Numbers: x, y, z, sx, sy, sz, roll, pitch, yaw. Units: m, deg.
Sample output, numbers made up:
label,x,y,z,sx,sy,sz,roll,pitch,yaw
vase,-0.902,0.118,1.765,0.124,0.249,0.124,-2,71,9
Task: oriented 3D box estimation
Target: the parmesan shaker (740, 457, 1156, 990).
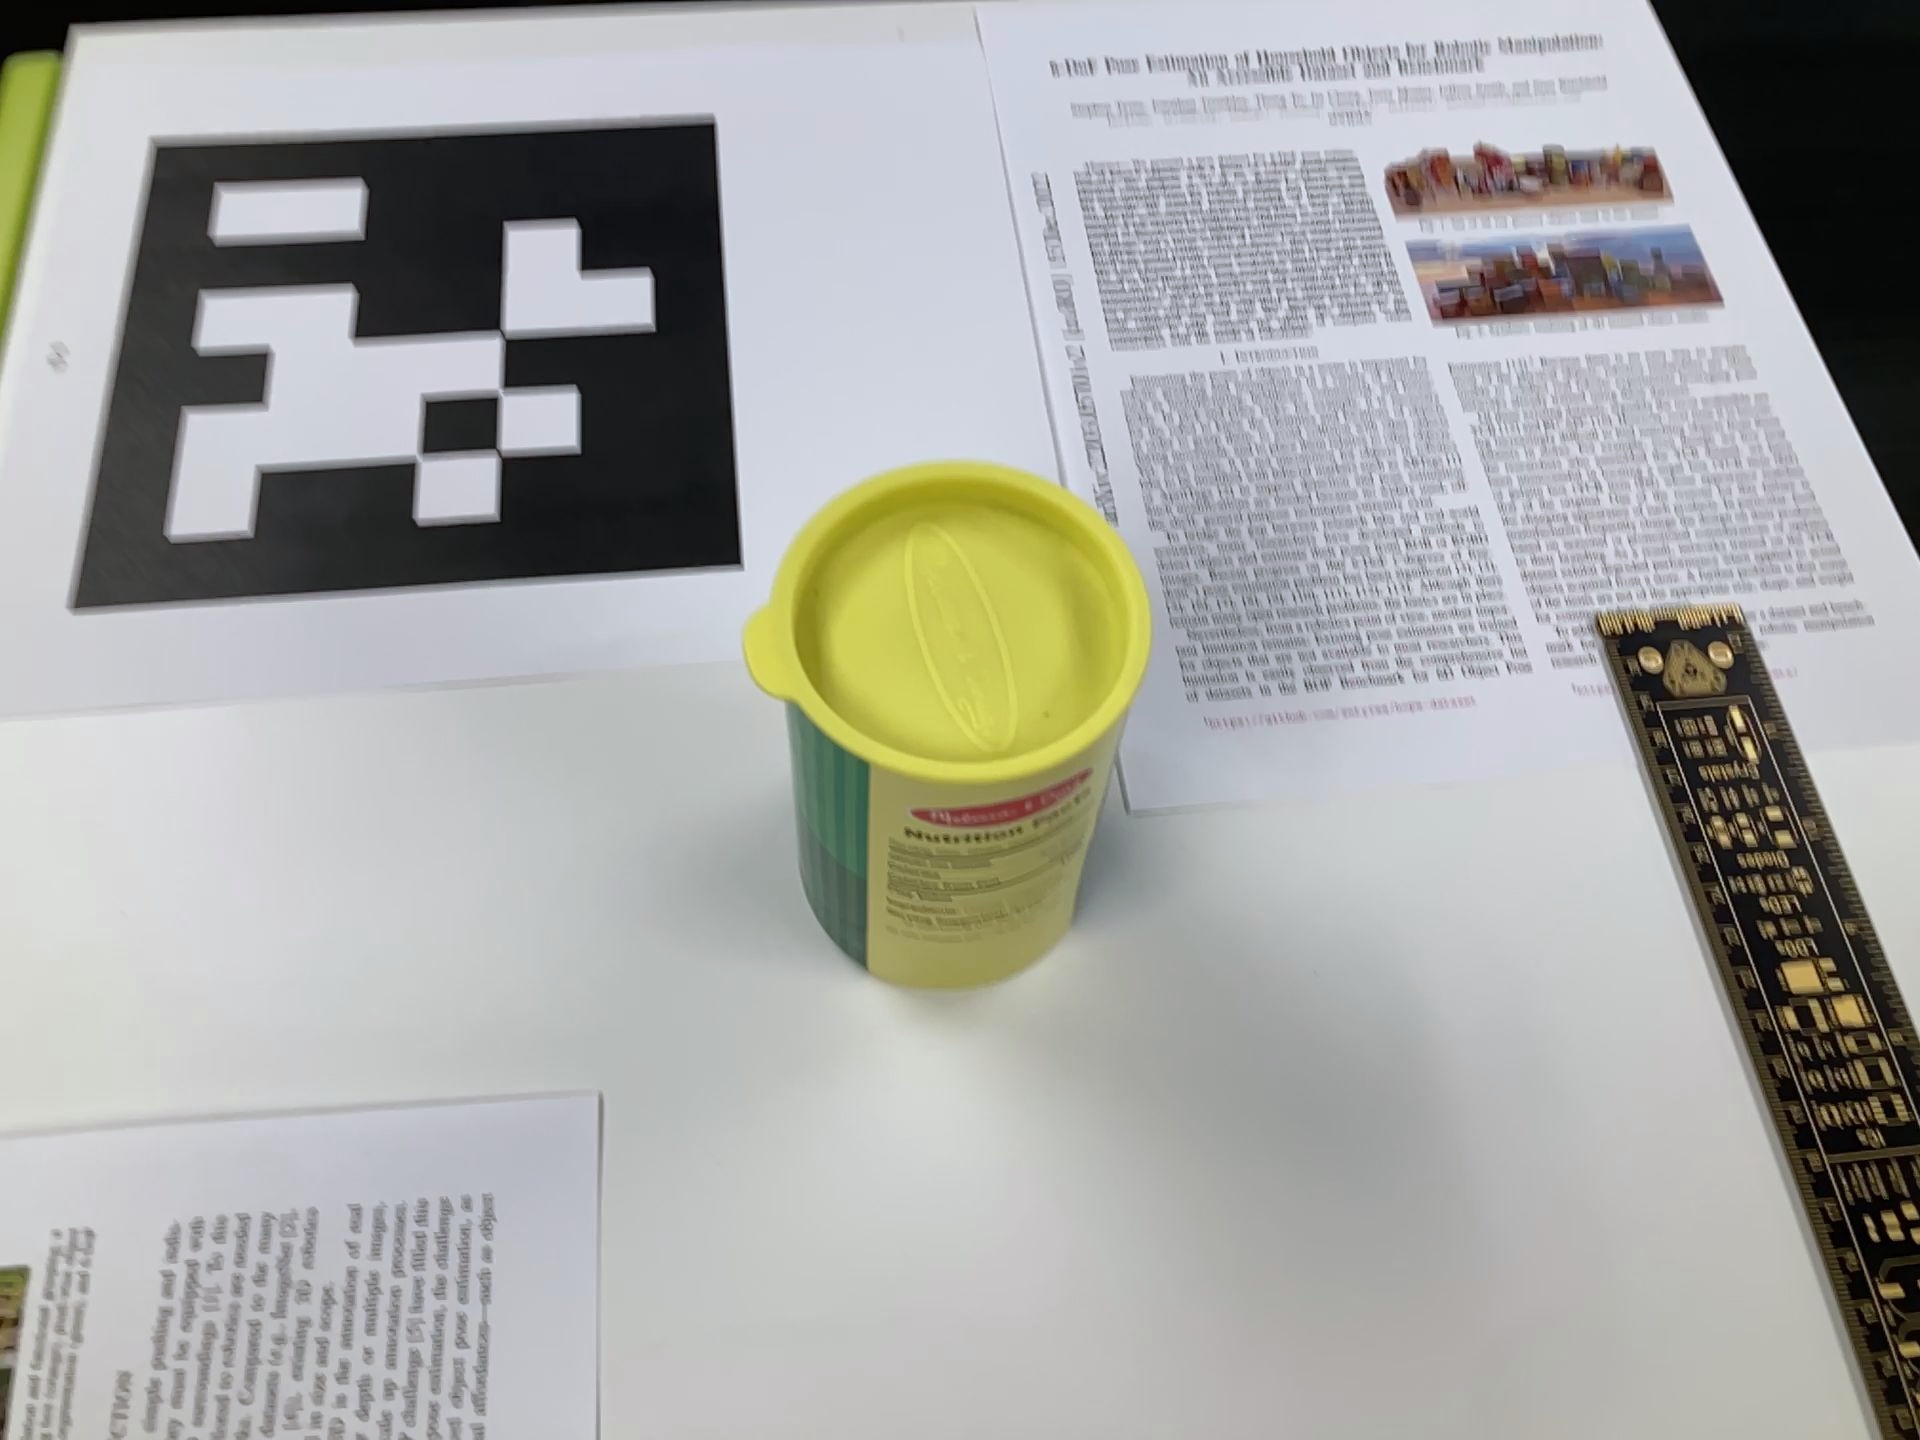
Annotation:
label,x,y,z,sx,sy,sz,roll,pitch,yaw
parmesan shaker,-0.005,0.006,0.316,0.071,0.103,0.071,2,61,-3
